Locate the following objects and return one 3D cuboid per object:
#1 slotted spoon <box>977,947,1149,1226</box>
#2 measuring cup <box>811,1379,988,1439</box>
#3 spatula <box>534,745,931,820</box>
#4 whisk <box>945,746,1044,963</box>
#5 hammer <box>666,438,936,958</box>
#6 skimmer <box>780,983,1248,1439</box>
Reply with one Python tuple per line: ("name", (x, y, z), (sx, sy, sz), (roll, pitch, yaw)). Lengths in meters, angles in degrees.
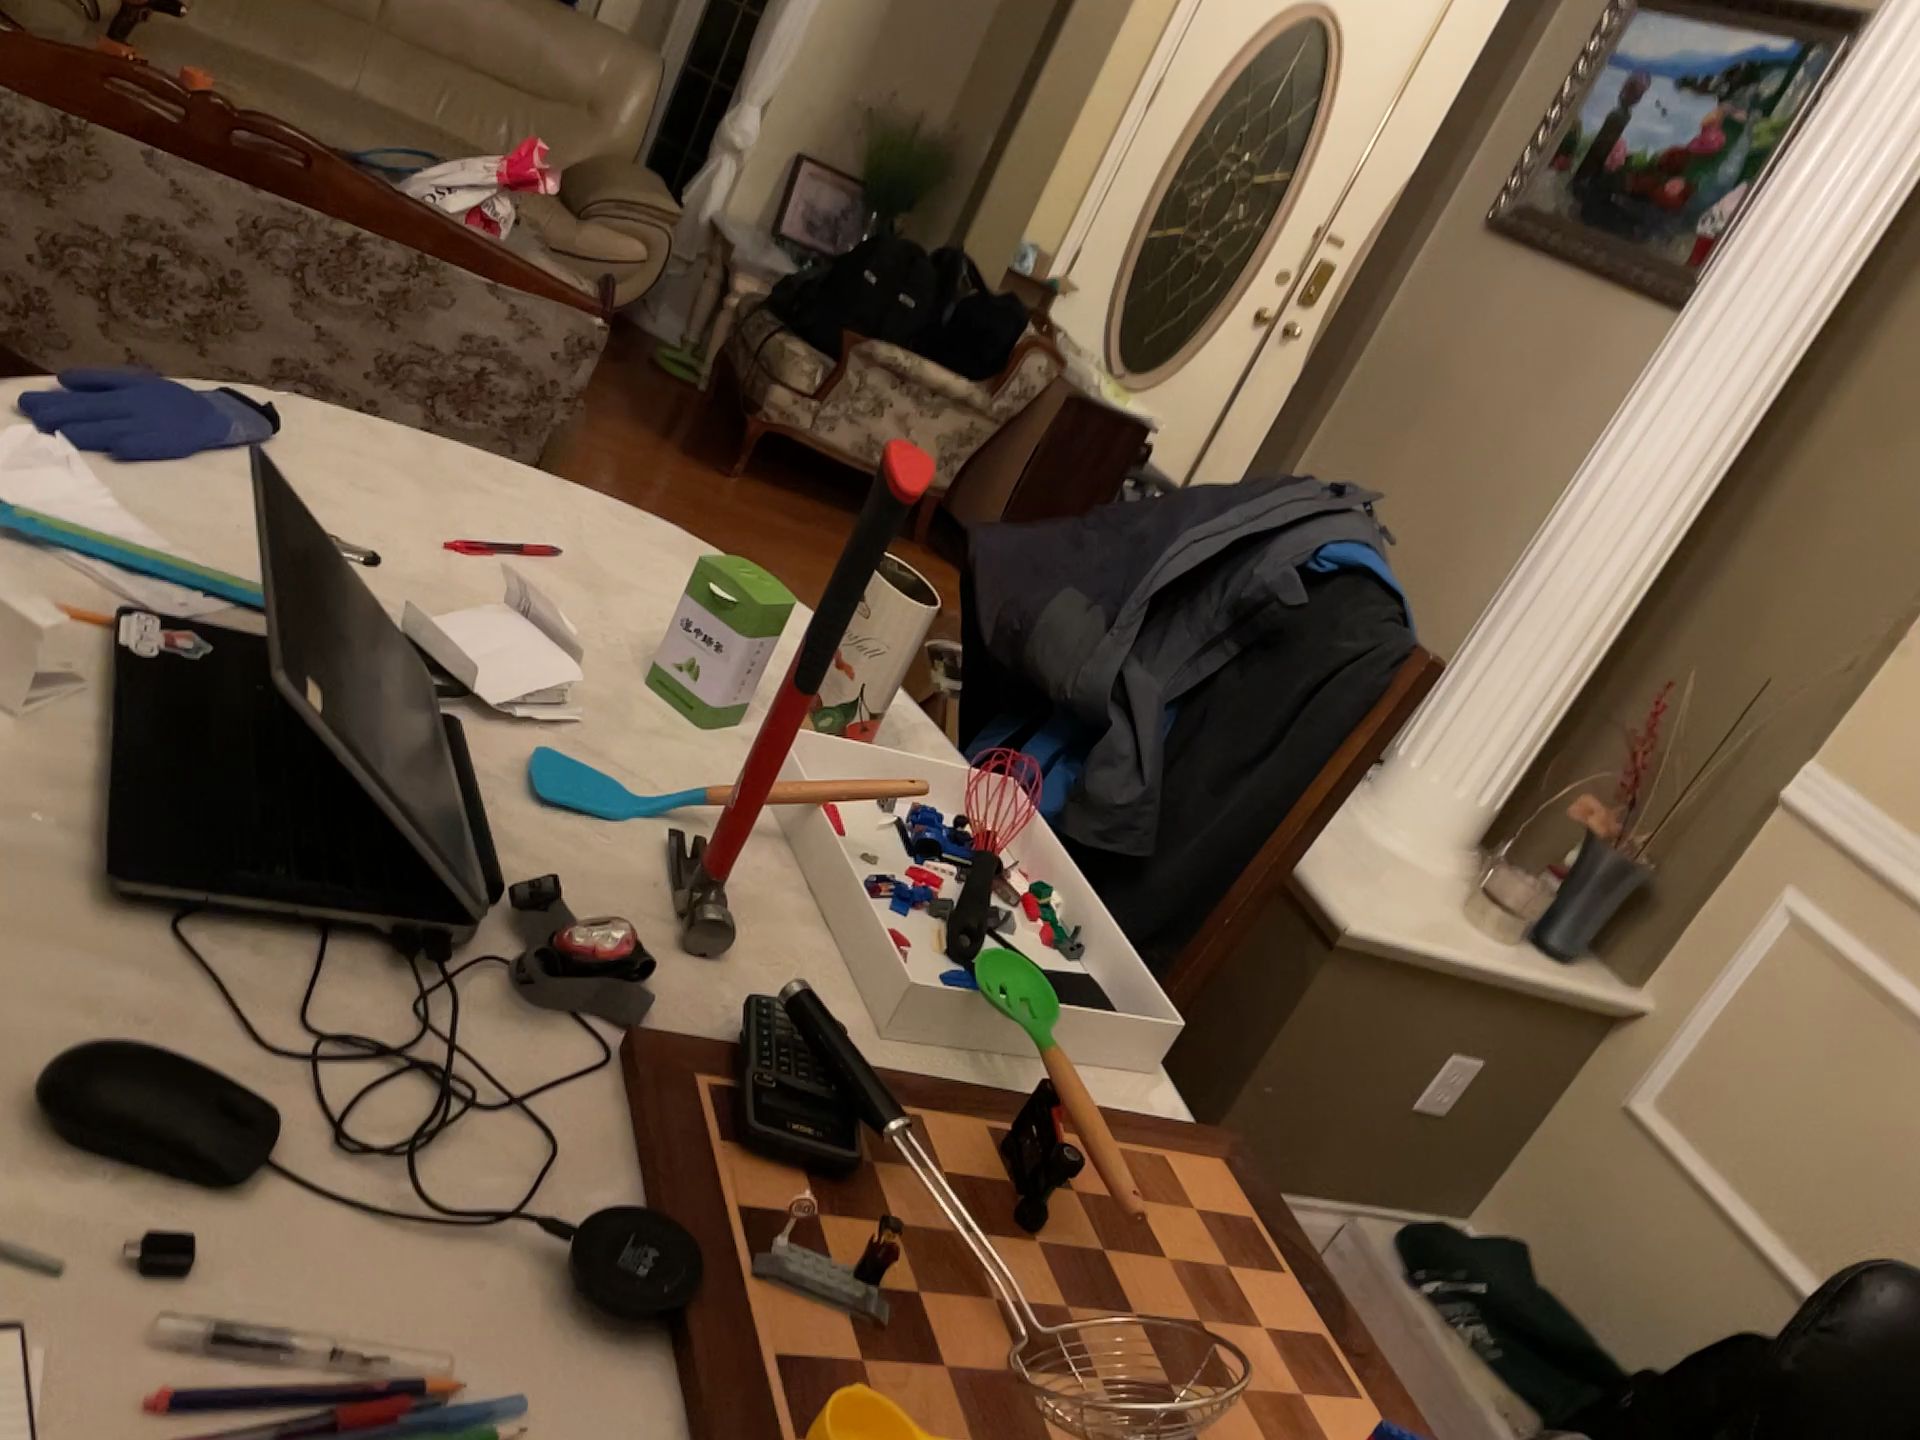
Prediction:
("slotted spoon", (0.066, 0.231, 1.036), (0.070, 0.031, 0.314), (23, 12, -19))
("measuring cup", (-0.008, 0.366, 0.778), (0.156, 0.029, 0.062), (30, 13, -32))
("spatula", (-0.177, 0.052, 1.276), (0.317, 0.044, 0.082), (-1, 27, -14))
("whisk", (0.026, 0.113, 1.399), (0.073, 0.073, 0.296), (11, 34, 6))
("hammer", (-0.118, -0.025, 1.120), (0.038, 0.386, 0.143), (17, 23, -25))
("skimmer", (0.012, 0.265, 0.925), (0.127, 0.090, 0.364), (1, 37, -48))
